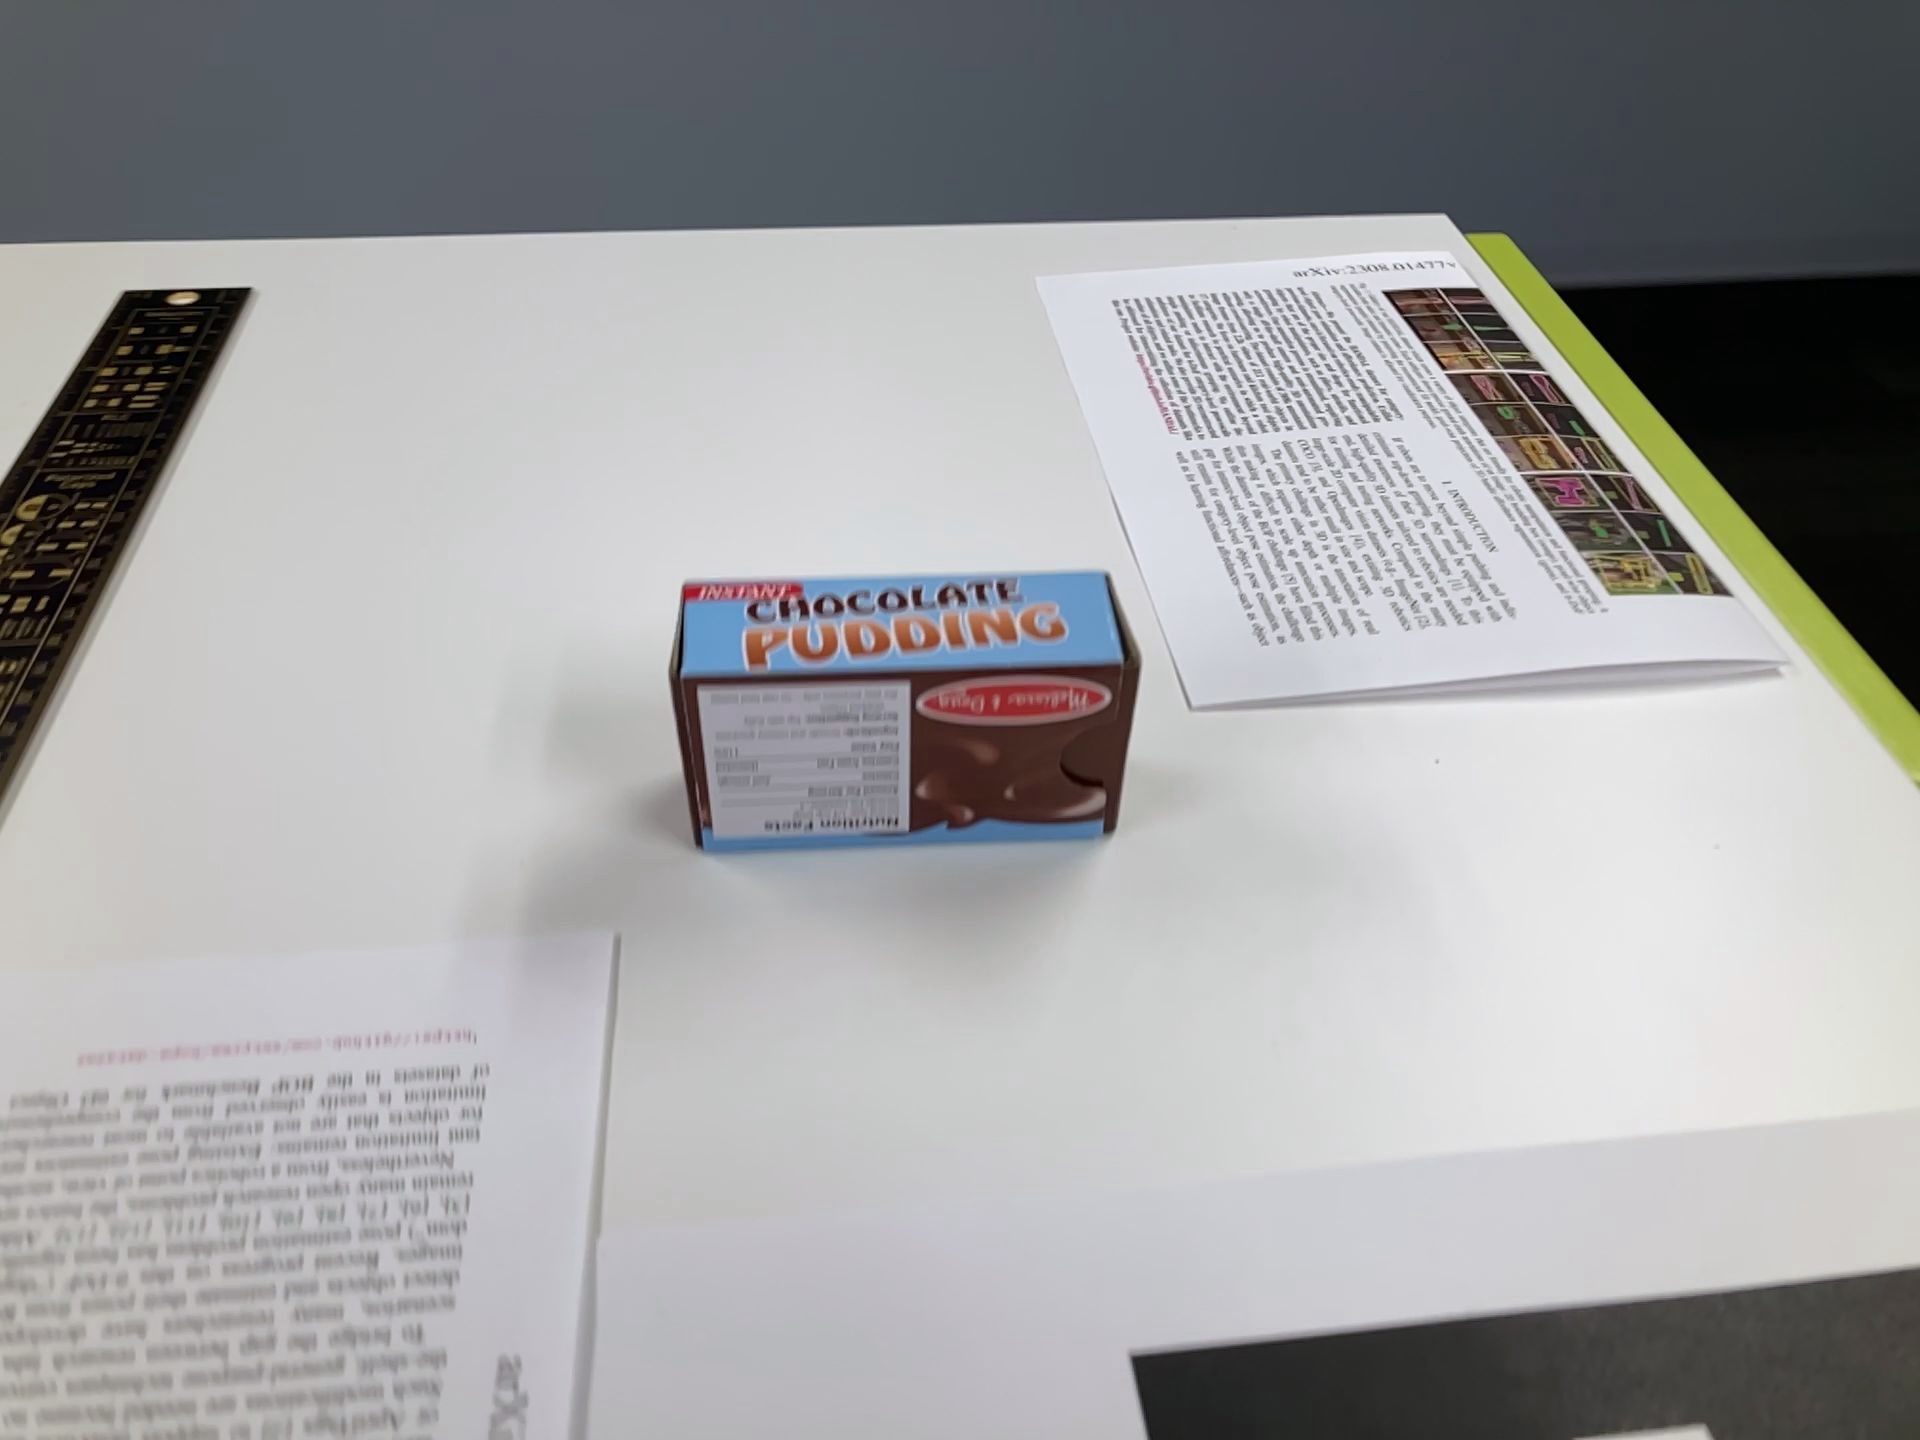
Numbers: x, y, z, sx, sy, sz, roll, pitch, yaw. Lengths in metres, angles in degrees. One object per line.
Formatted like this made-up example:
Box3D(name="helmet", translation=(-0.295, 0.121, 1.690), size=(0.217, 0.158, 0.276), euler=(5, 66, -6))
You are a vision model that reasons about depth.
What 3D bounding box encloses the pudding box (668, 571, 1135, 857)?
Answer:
Box3D(name="pudding box", translation=(-0.012, 0.000, 0.308), size=(0.083, 0.049, 0.030), euler=(-2, 43, -4))
